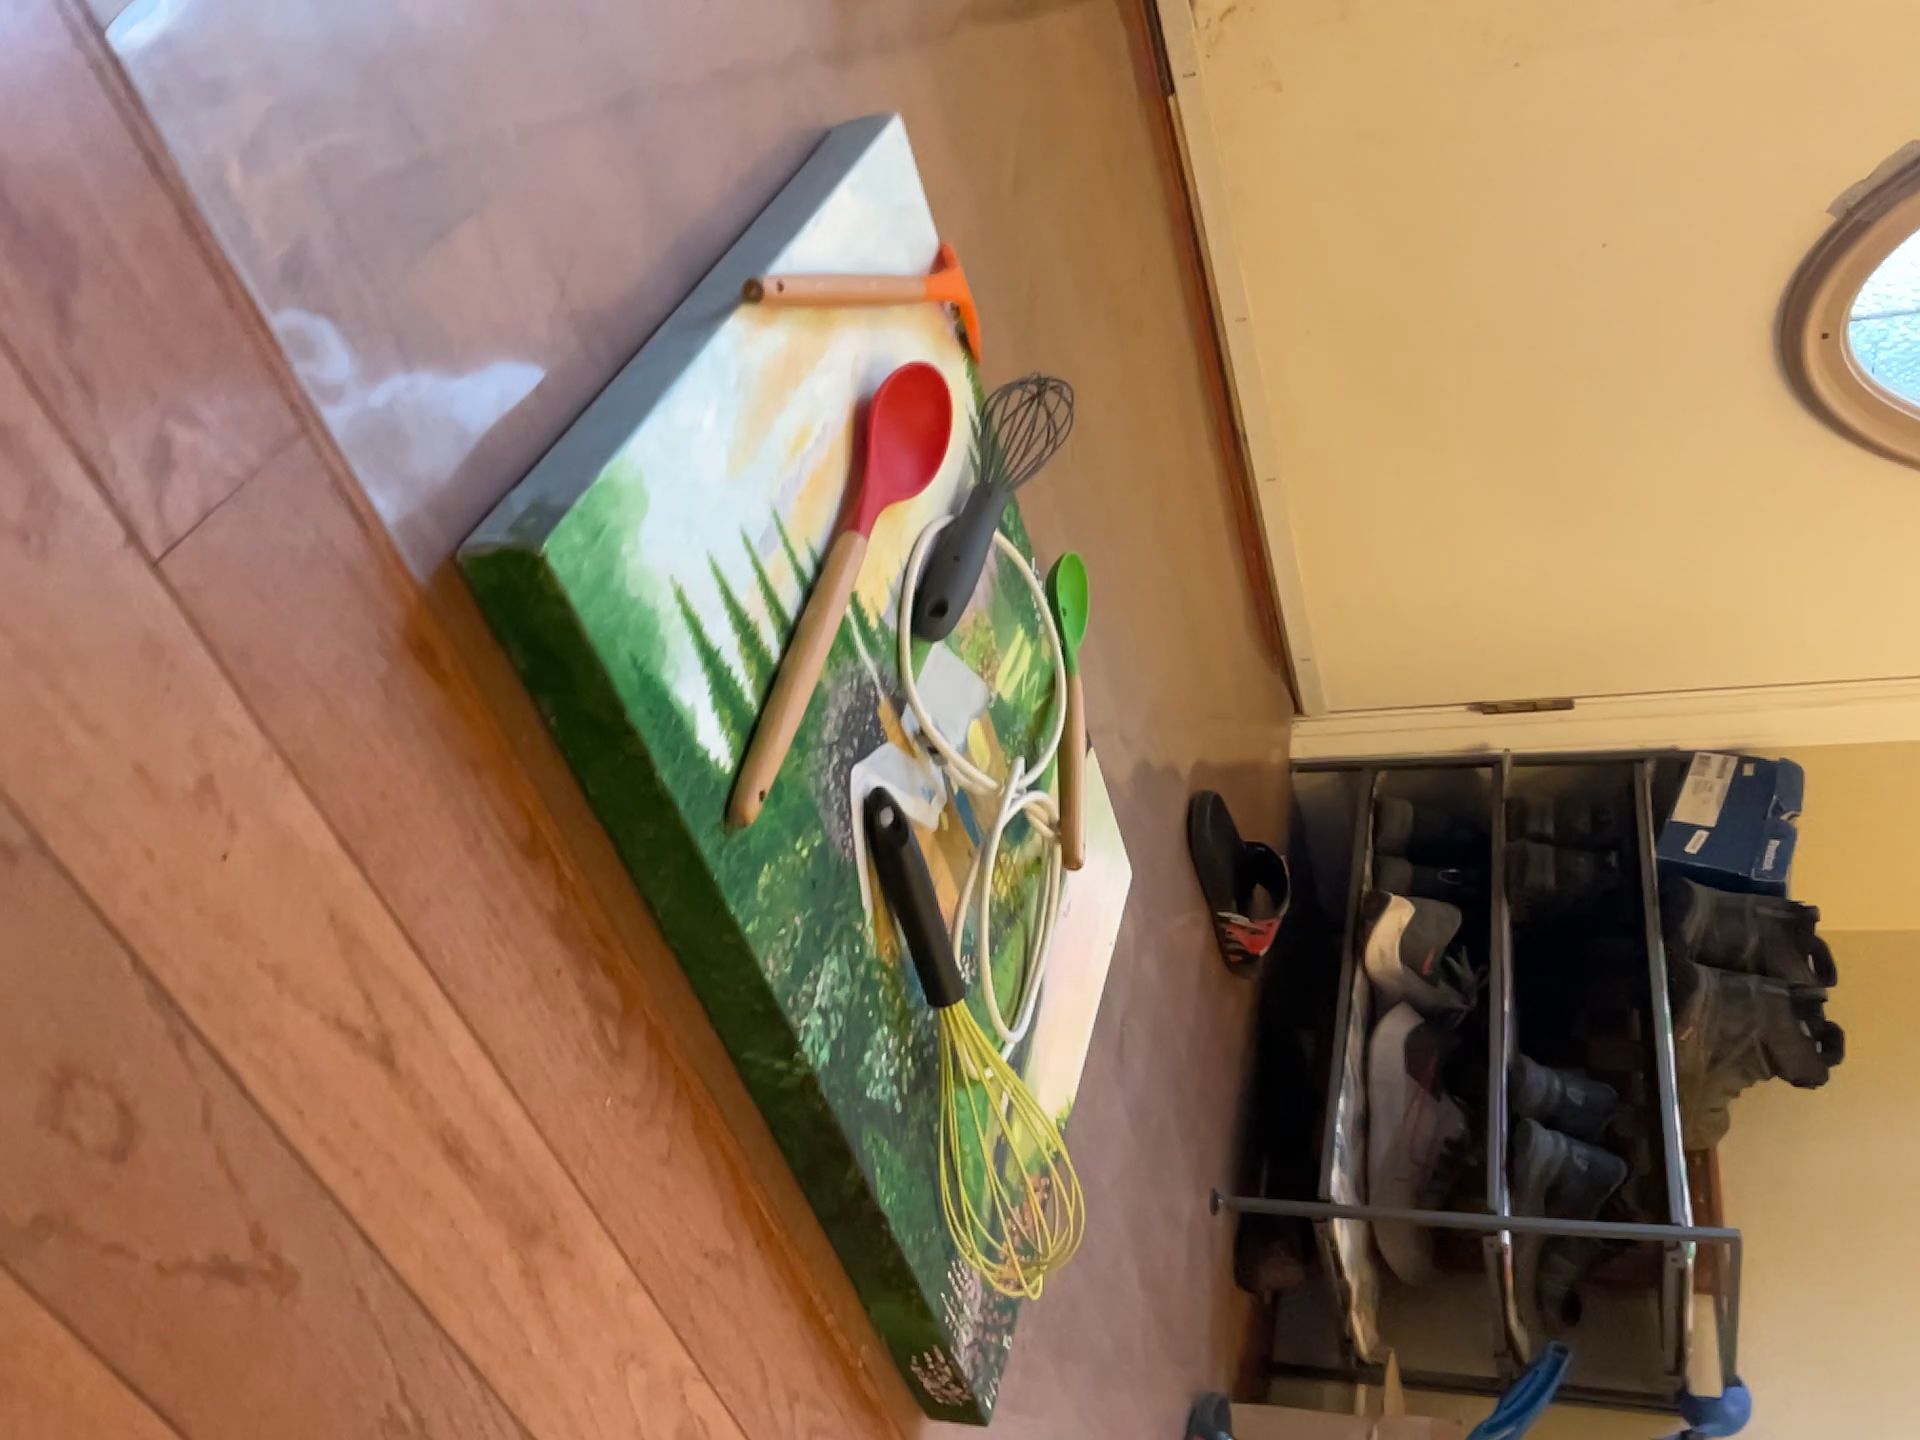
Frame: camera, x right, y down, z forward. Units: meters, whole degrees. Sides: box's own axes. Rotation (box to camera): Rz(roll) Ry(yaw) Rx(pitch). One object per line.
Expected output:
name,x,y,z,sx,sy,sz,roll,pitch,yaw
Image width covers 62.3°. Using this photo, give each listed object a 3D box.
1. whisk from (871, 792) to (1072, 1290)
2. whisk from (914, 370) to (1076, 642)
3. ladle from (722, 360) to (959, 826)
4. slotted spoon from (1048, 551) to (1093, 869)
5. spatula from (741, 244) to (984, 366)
whisk,0.000,0.181,0.875,0.080,0.067,0.311,-55,131,-64
whisk,0.020,-0.134,0.971,0.055,0.055,0.239,55,43,-35
ladle,-0.058,-0.072,0.796,0.069,0.031,0.316,64,34,-41
slotted spoon,0.076,-0.013,1.097,0.314,0.031,0.070,-85,160,-50
spatula,-0.042,-0.234,0.883,0.322,0.041,0.081,-32,105,-63
